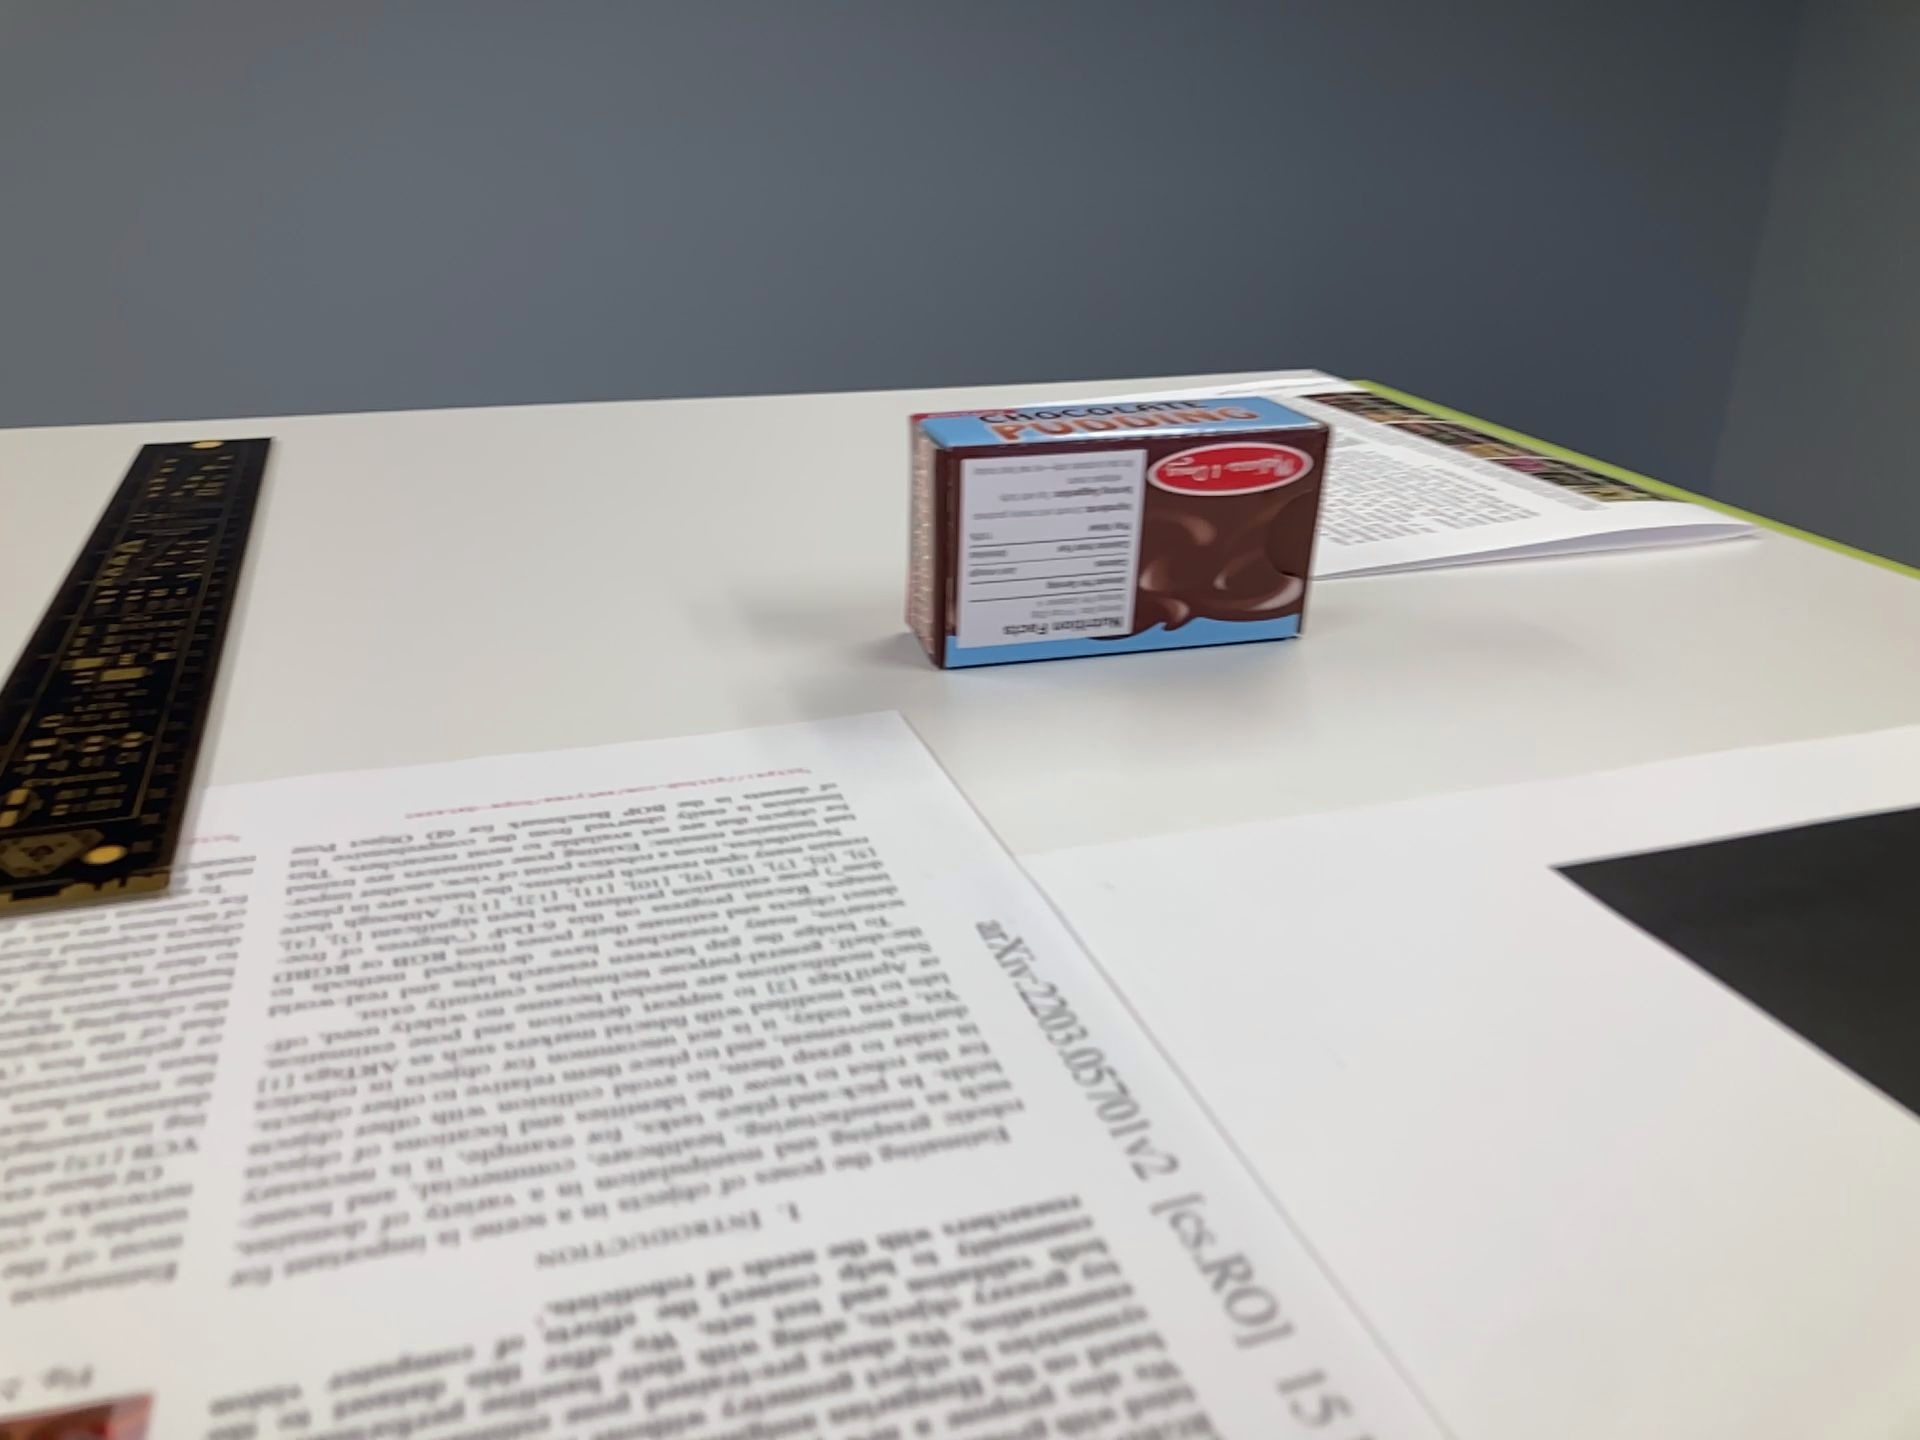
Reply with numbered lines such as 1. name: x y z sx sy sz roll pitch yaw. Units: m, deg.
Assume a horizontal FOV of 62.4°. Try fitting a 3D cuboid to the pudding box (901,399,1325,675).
1. pudding box: 0.031 -0.039 0.337 0.083 0.049 0.030 -6 26 -16
